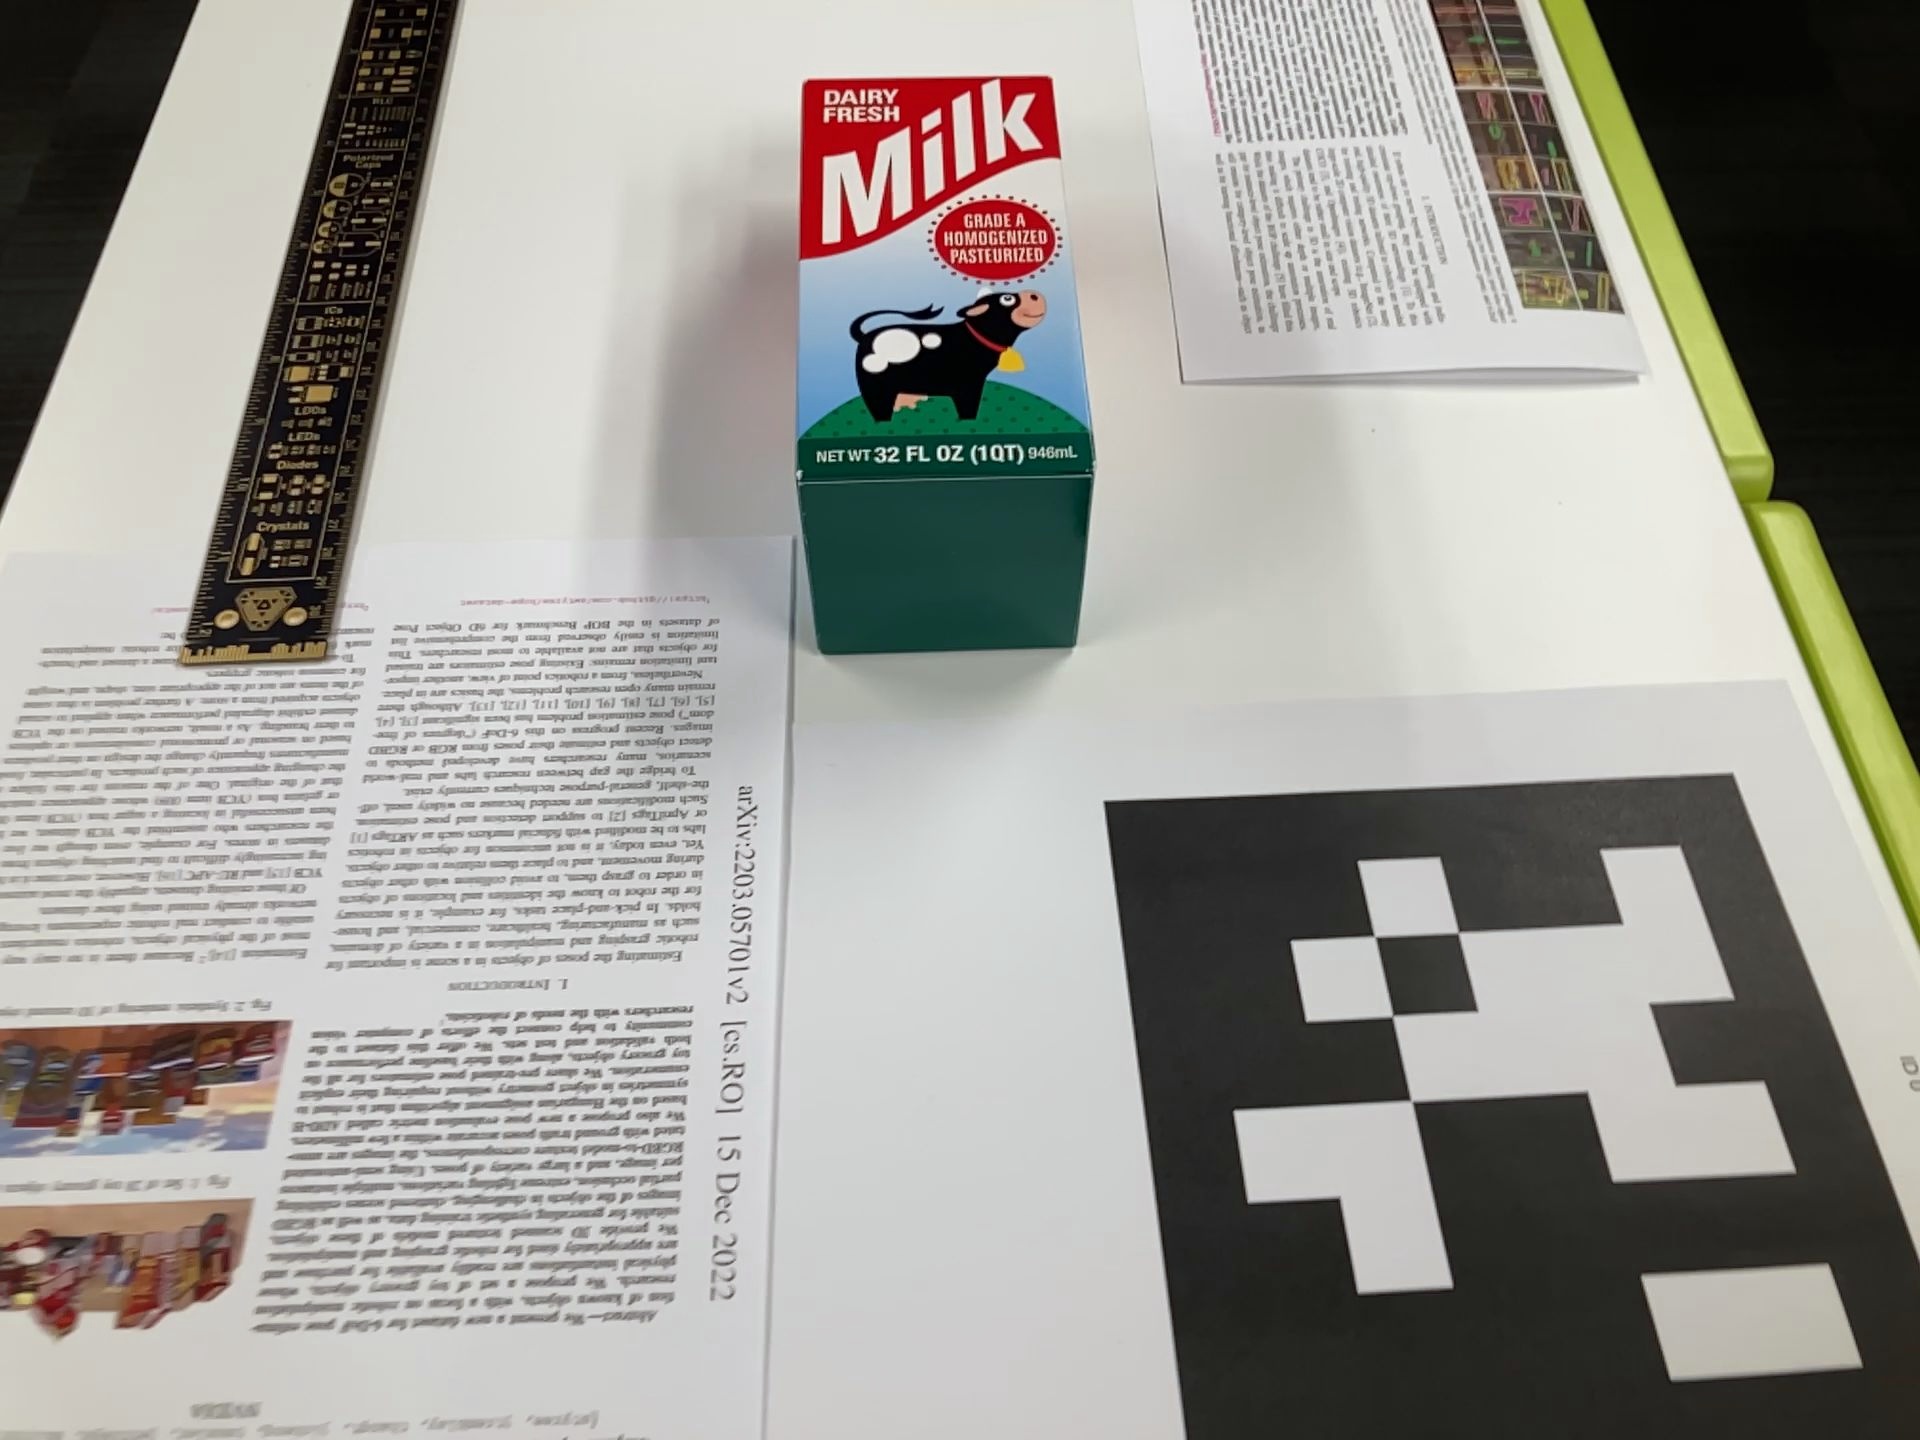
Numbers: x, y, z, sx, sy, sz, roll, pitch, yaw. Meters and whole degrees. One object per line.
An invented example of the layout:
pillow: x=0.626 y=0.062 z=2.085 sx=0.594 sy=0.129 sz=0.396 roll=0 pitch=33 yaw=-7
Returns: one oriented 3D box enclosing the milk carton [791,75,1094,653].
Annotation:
milk carton: x=-0.007 y=-0.117 z=0.442 sx=0.072 sy=0.073 sz=0.190 roll=-2 pitch=56 yaw=-1
